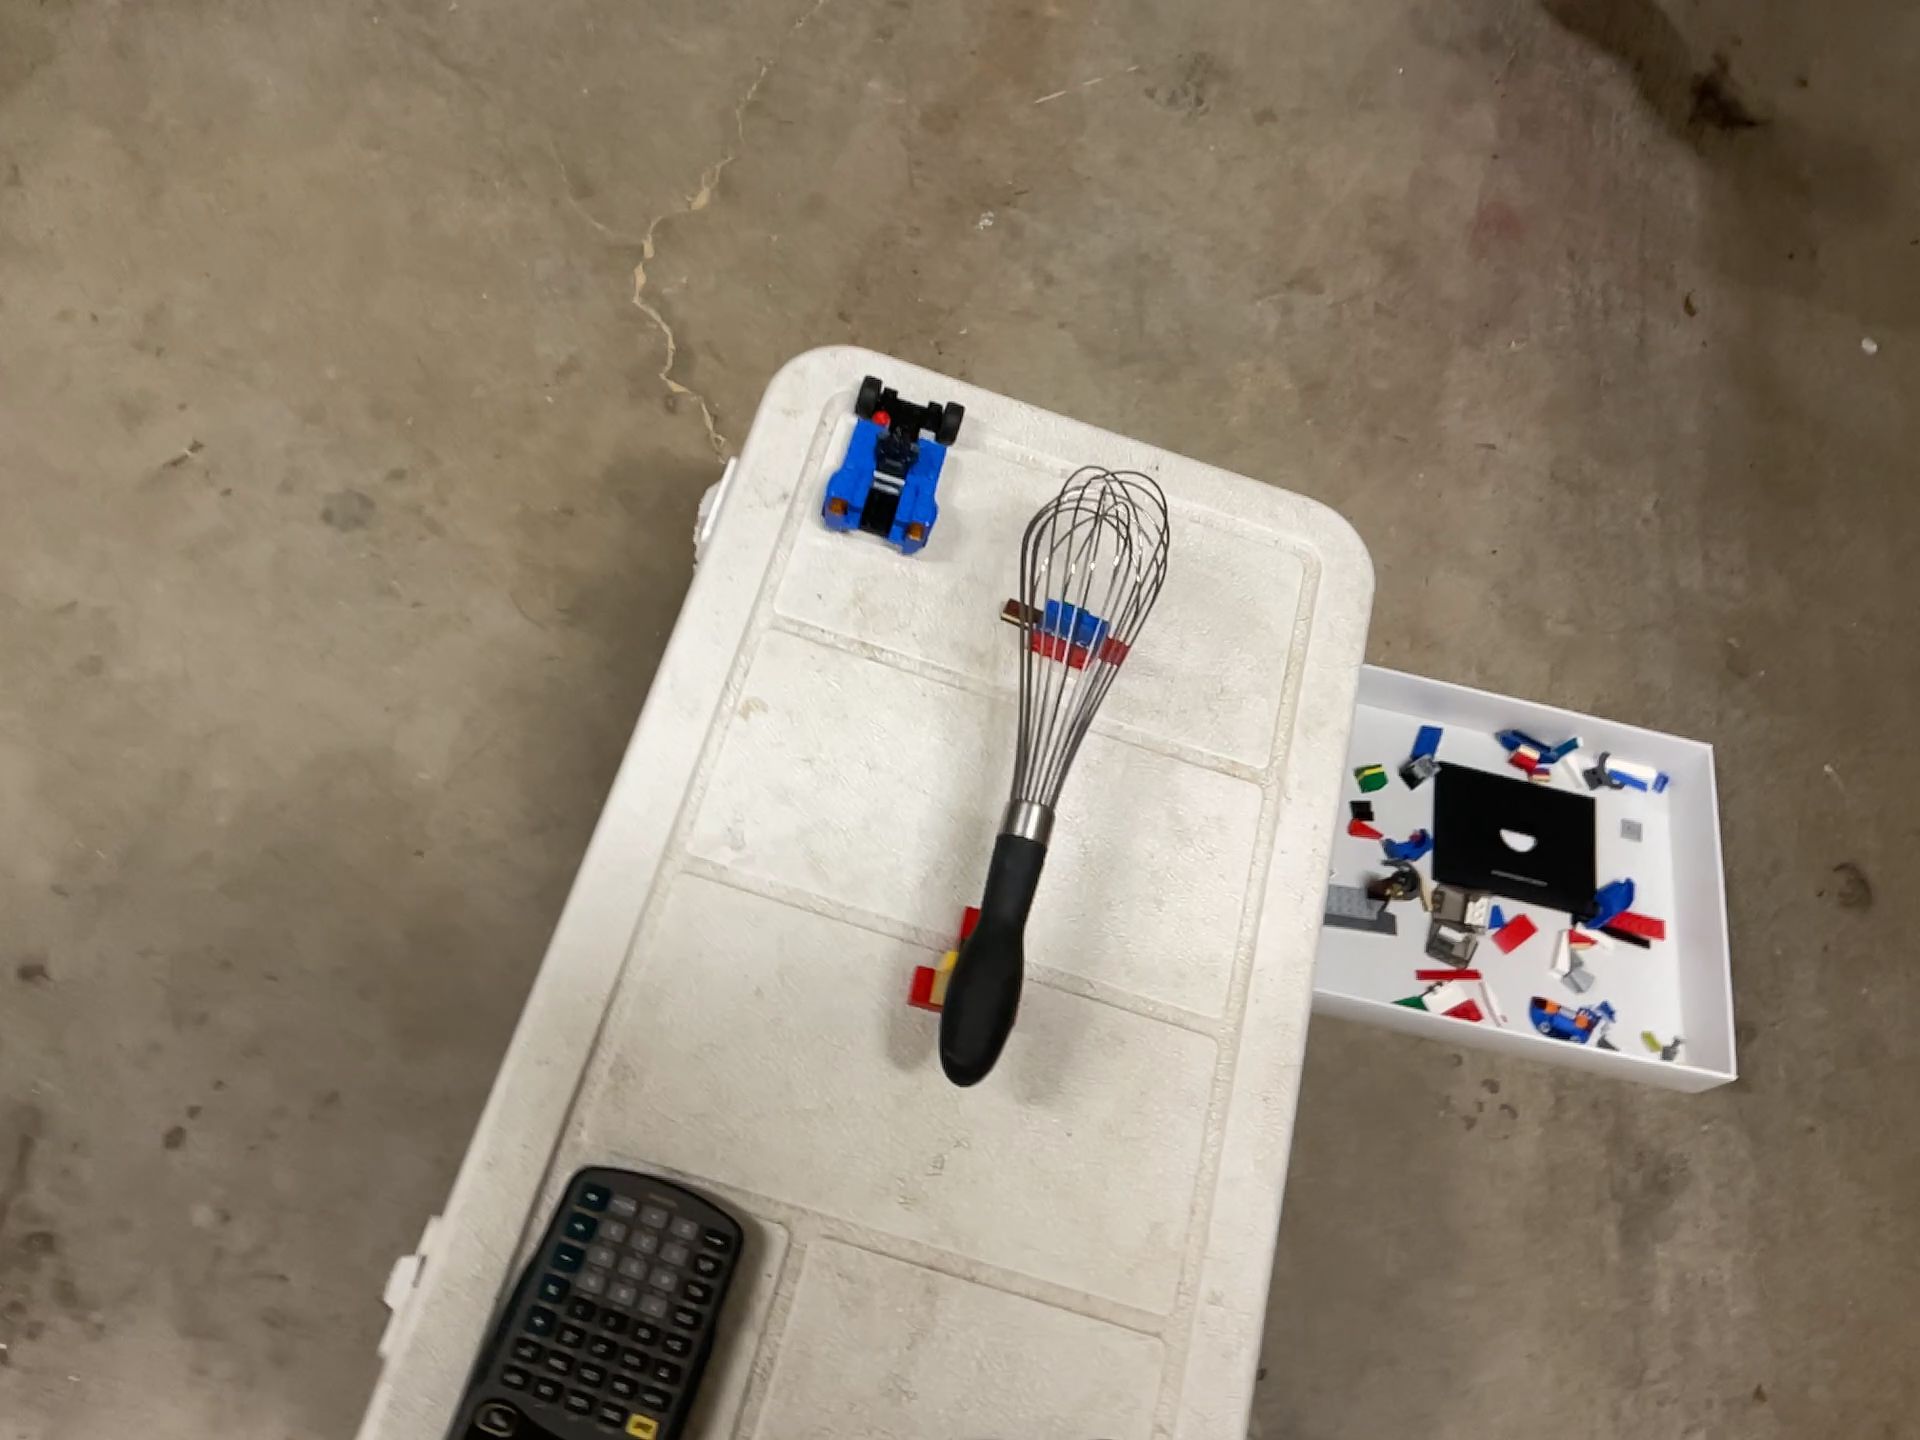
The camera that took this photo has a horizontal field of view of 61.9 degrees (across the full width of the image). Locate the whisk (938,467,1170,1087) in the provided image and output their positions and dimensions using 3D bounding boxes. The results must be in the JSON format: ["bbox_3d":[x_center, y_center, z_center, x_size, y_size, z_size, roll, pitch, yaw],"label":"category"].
[{"bbox_3d":[0.036,0.016,0.682,0.070,0.070,0.285,19,70,-9],"label":"whisk"}]
